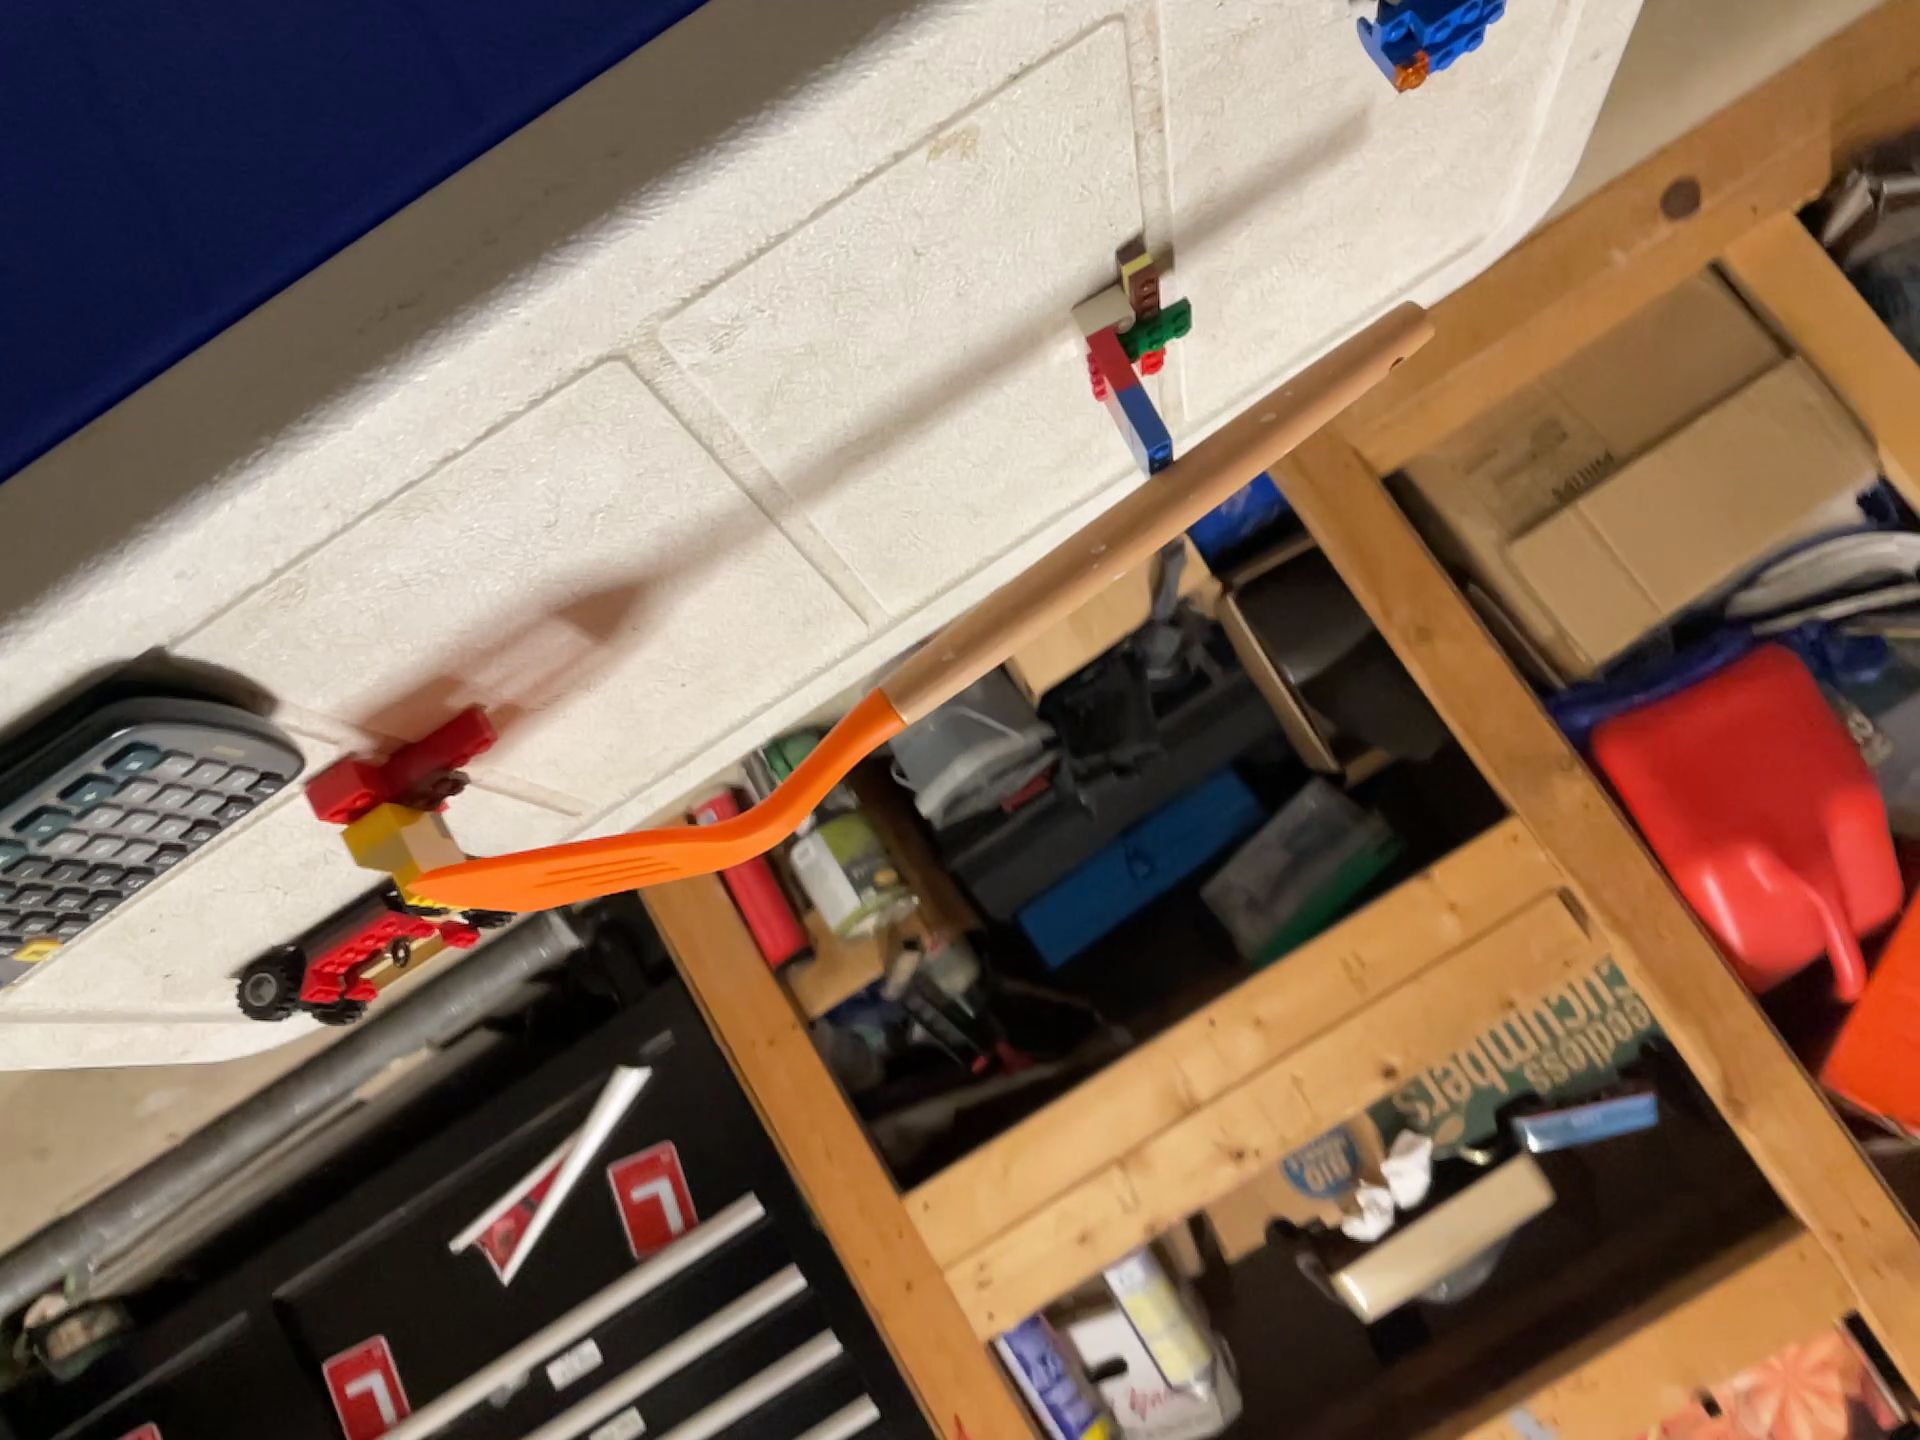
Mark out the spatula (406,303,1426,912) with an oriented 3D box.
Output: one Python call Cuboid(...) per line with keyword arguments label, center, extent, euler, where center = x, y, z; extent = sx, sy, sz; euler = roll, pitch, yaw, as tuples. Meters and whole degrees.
Cuboid(label="spatula", center=(-0.006, -0.026, 0.458), extent=(0.322, 0.041, 0.081), euler=(-36, 165, 0))
